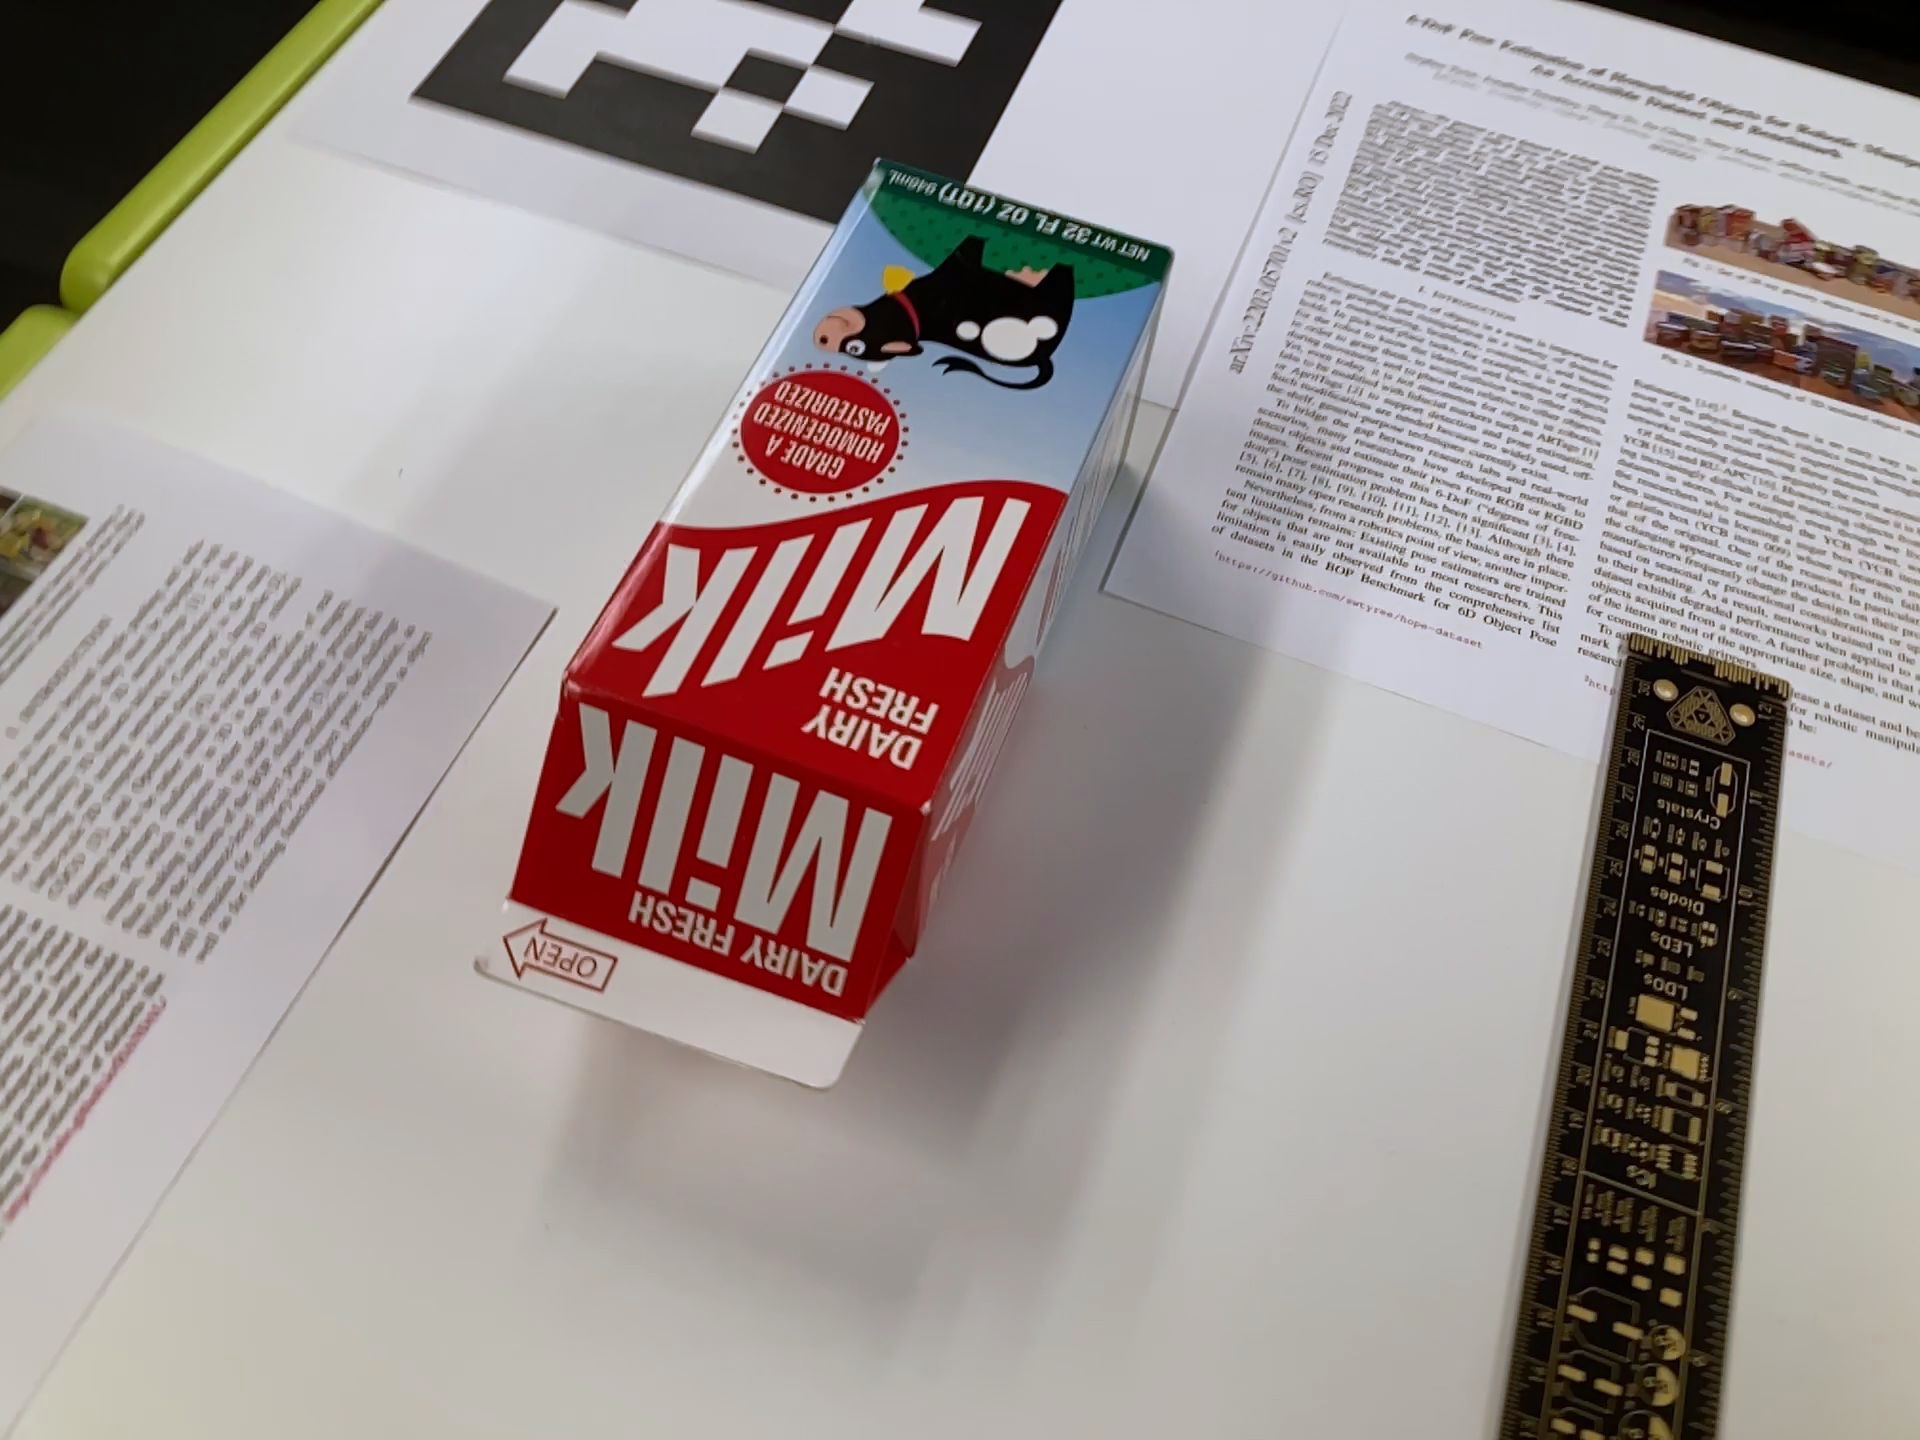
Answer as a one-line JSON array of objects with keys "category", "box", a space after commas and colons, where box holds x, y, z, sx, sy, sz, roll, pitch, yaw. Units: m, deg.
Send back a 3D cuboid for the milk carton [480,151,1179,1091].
[{"category": "milk carton", "box": [-0.021, -0.022, 0.329, 0.072, 0.073, 0.190, 20, 60, 7]}]
